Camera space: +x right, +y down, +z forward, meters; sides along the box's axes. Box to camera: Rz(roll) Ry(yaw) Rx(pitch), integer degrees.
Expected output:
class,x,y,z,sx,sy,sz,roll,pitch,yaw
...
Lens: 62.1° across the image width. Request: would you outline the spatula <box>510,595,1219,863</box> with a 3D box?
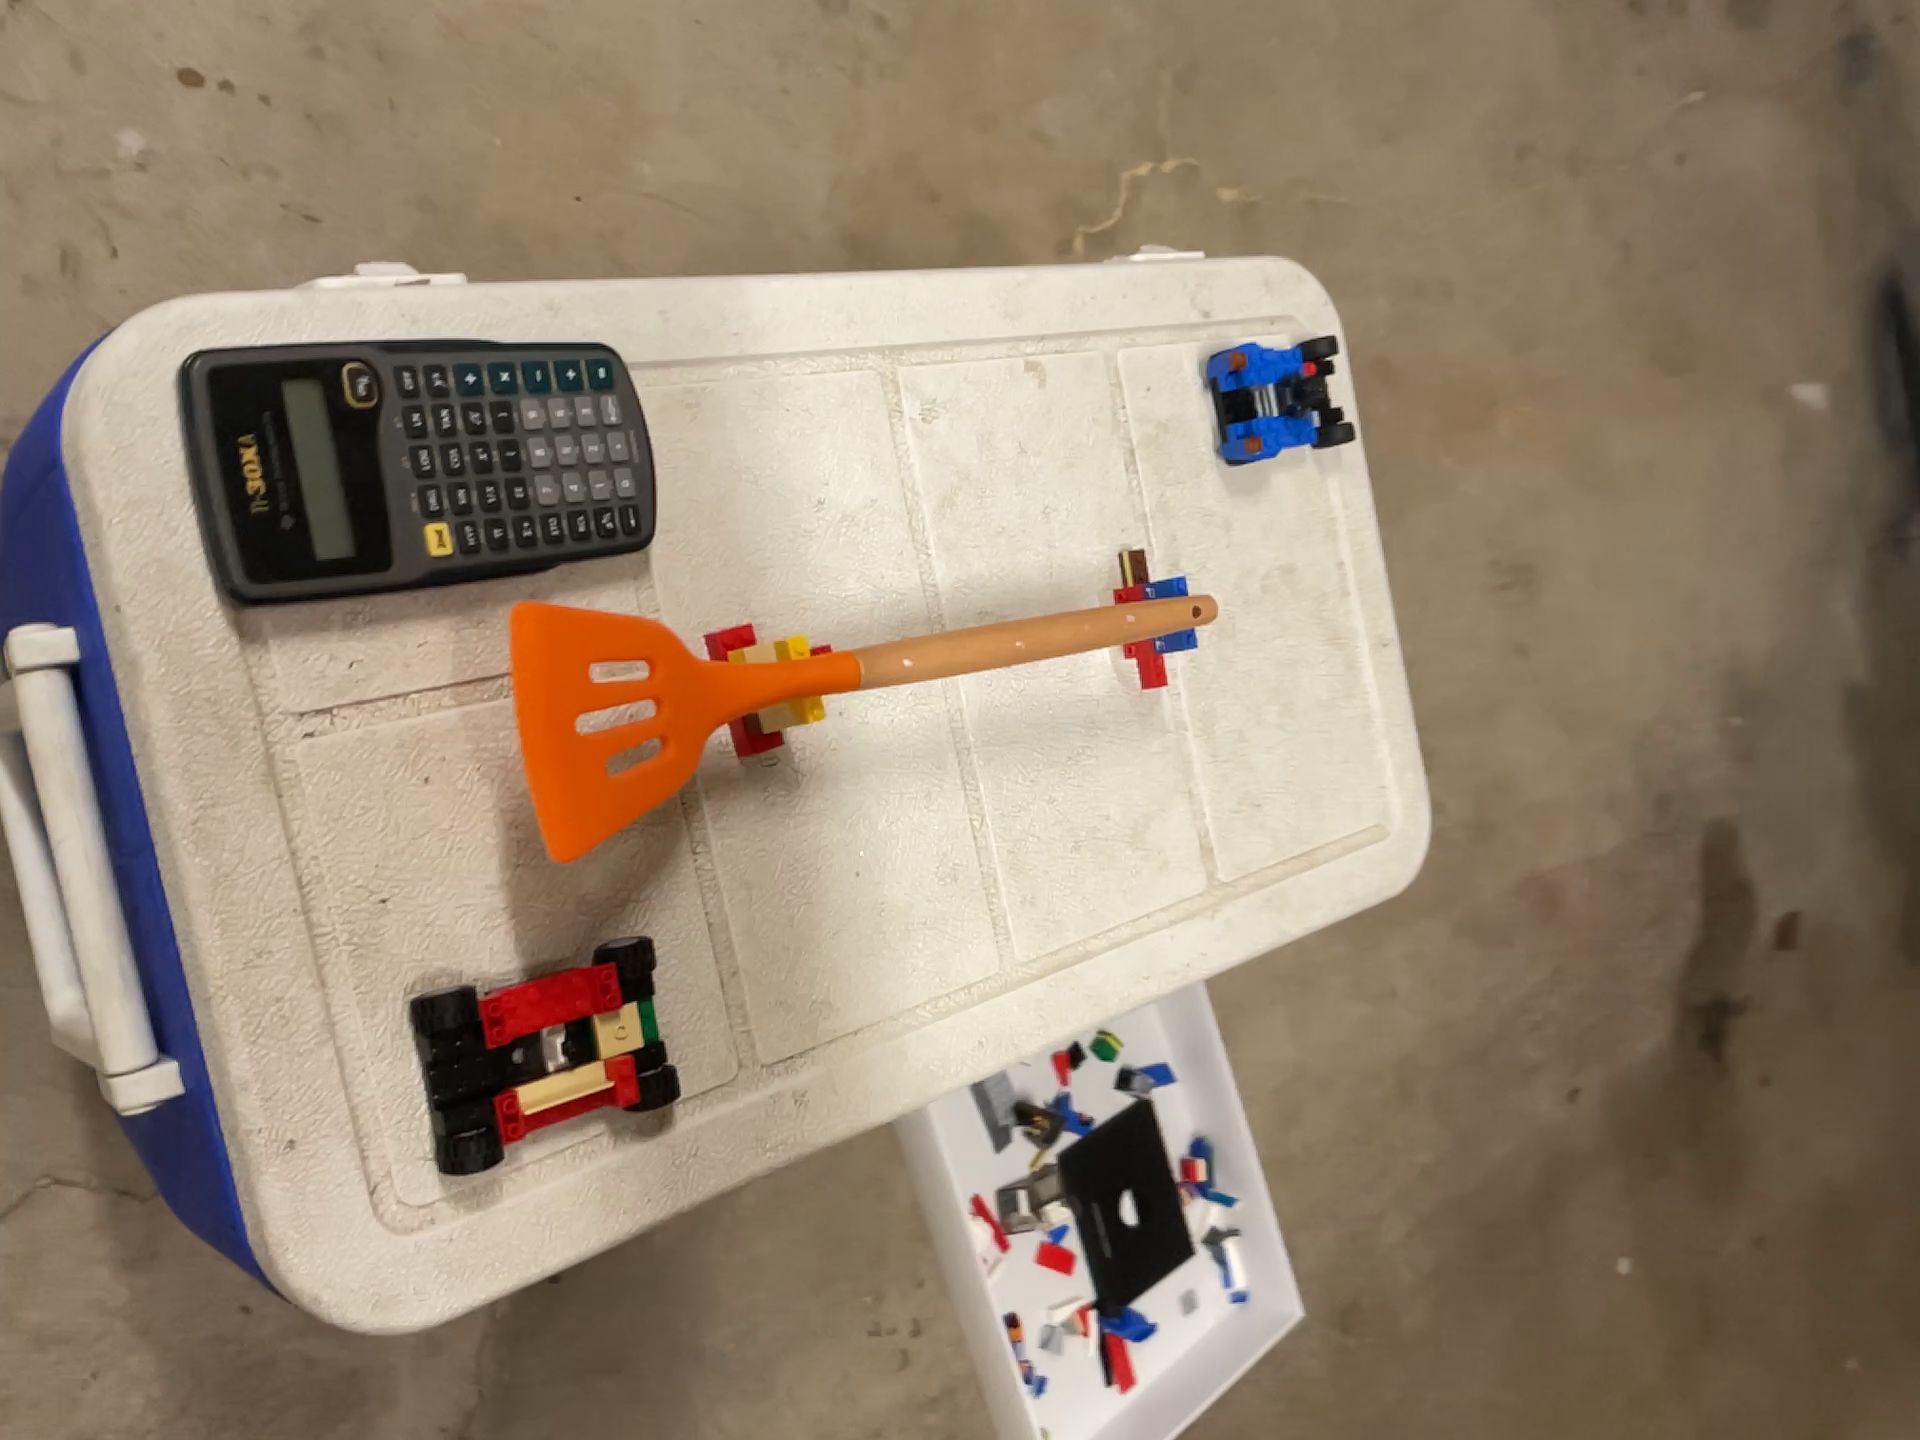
class,x,y,z,sx,sy,sz,roll,pitch,yaw
spatula,-0.015,-0.021,0.583,0.323,0.041,0.081,-12,96,-36
